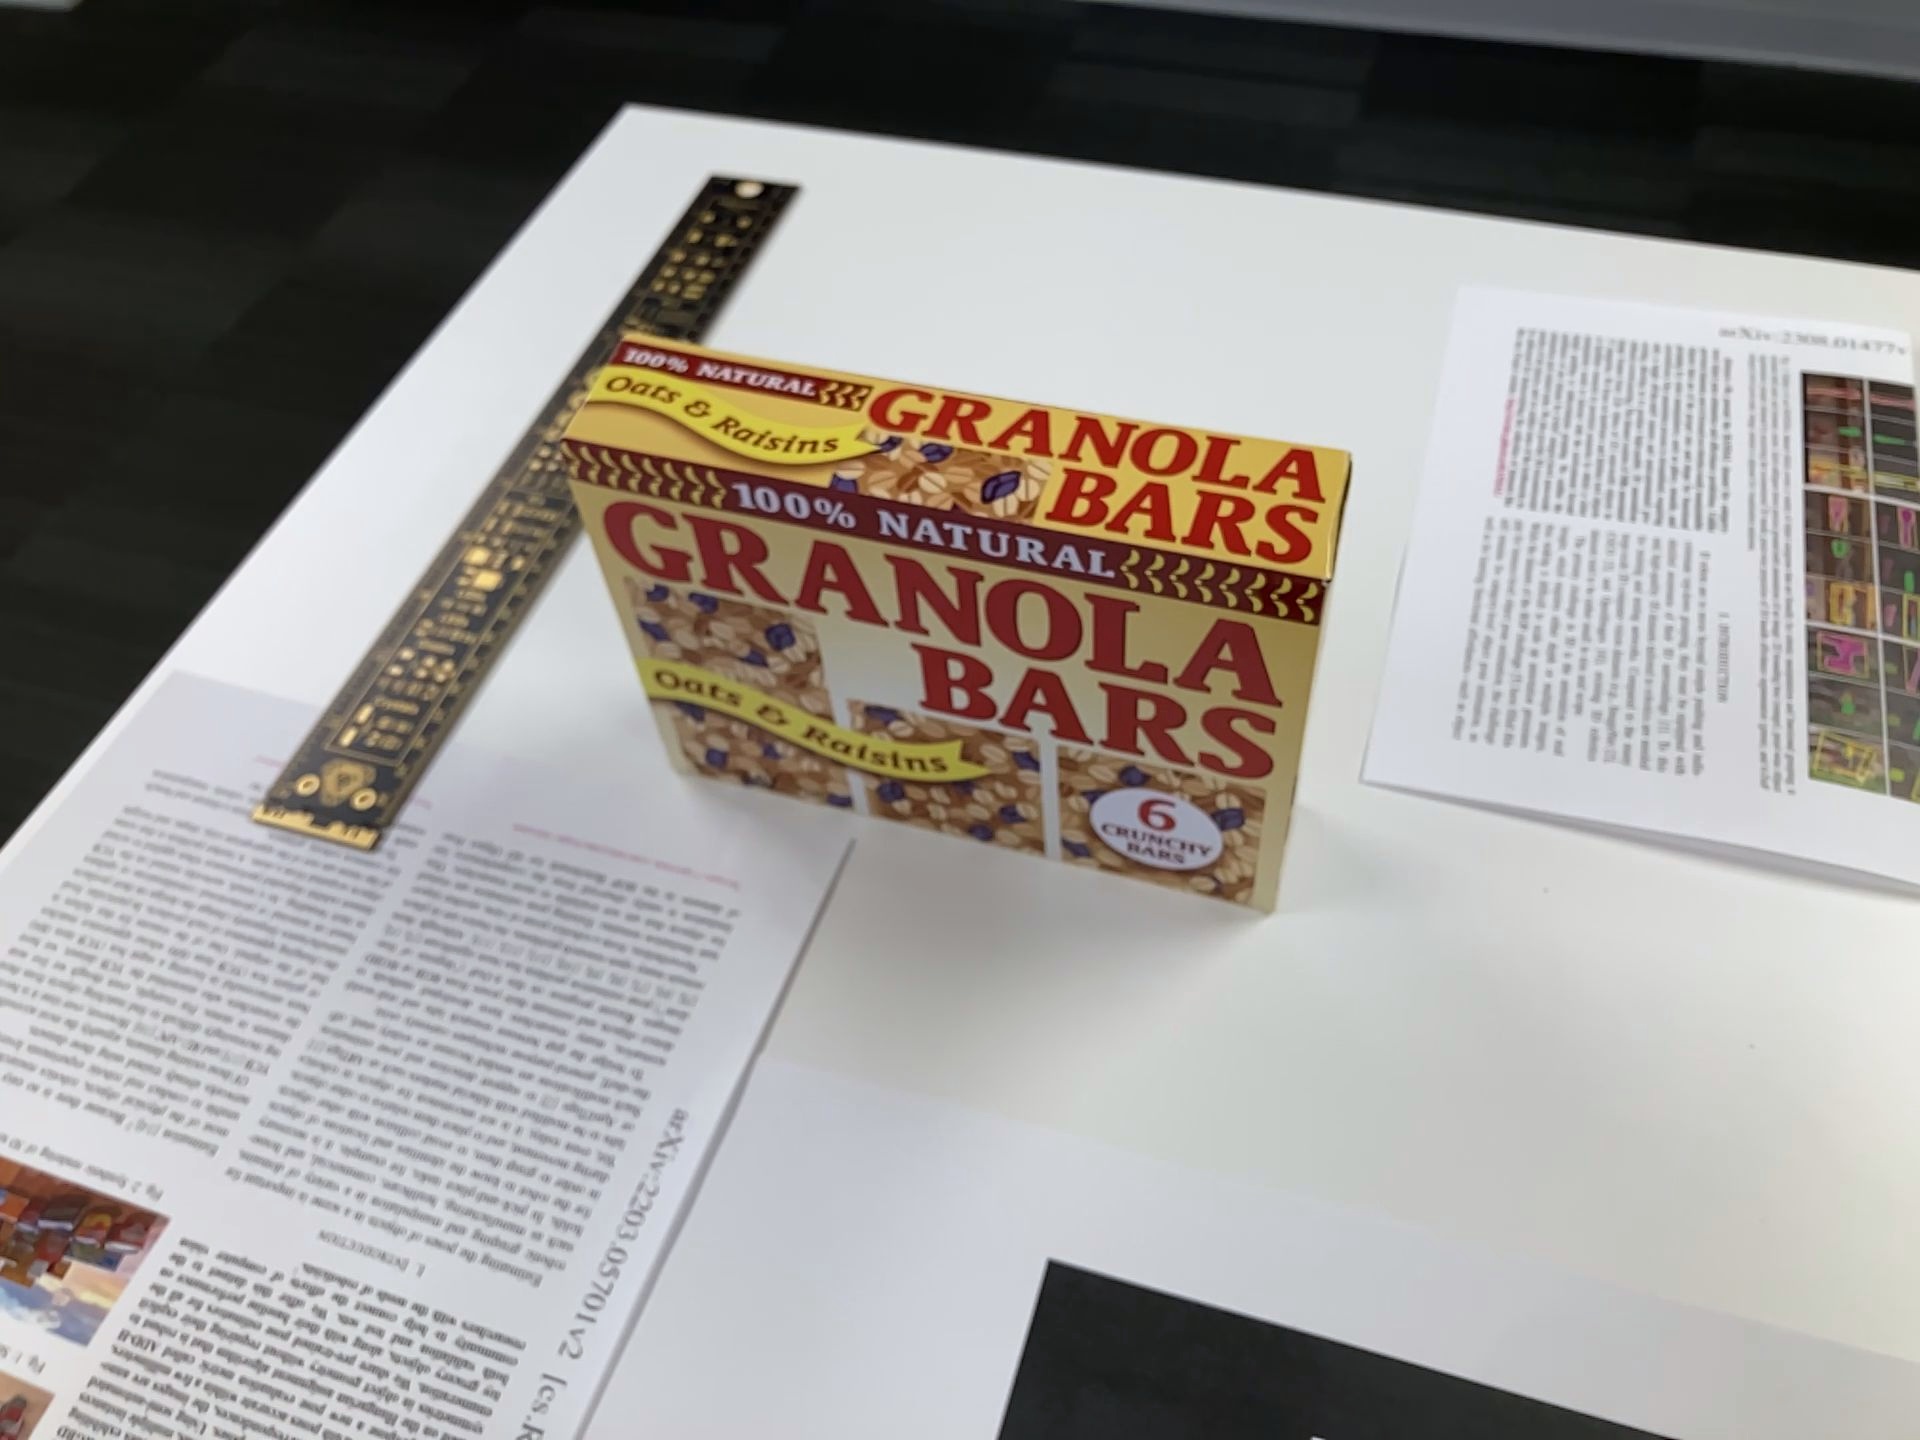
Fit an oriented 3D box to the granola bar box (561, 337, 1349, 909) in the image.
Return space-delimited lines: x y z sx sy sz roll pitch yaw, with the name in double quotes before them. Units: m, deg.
"granola bar box" 0.001 -0.021 0.382 0.165 0.124 0.039 12 55 15
